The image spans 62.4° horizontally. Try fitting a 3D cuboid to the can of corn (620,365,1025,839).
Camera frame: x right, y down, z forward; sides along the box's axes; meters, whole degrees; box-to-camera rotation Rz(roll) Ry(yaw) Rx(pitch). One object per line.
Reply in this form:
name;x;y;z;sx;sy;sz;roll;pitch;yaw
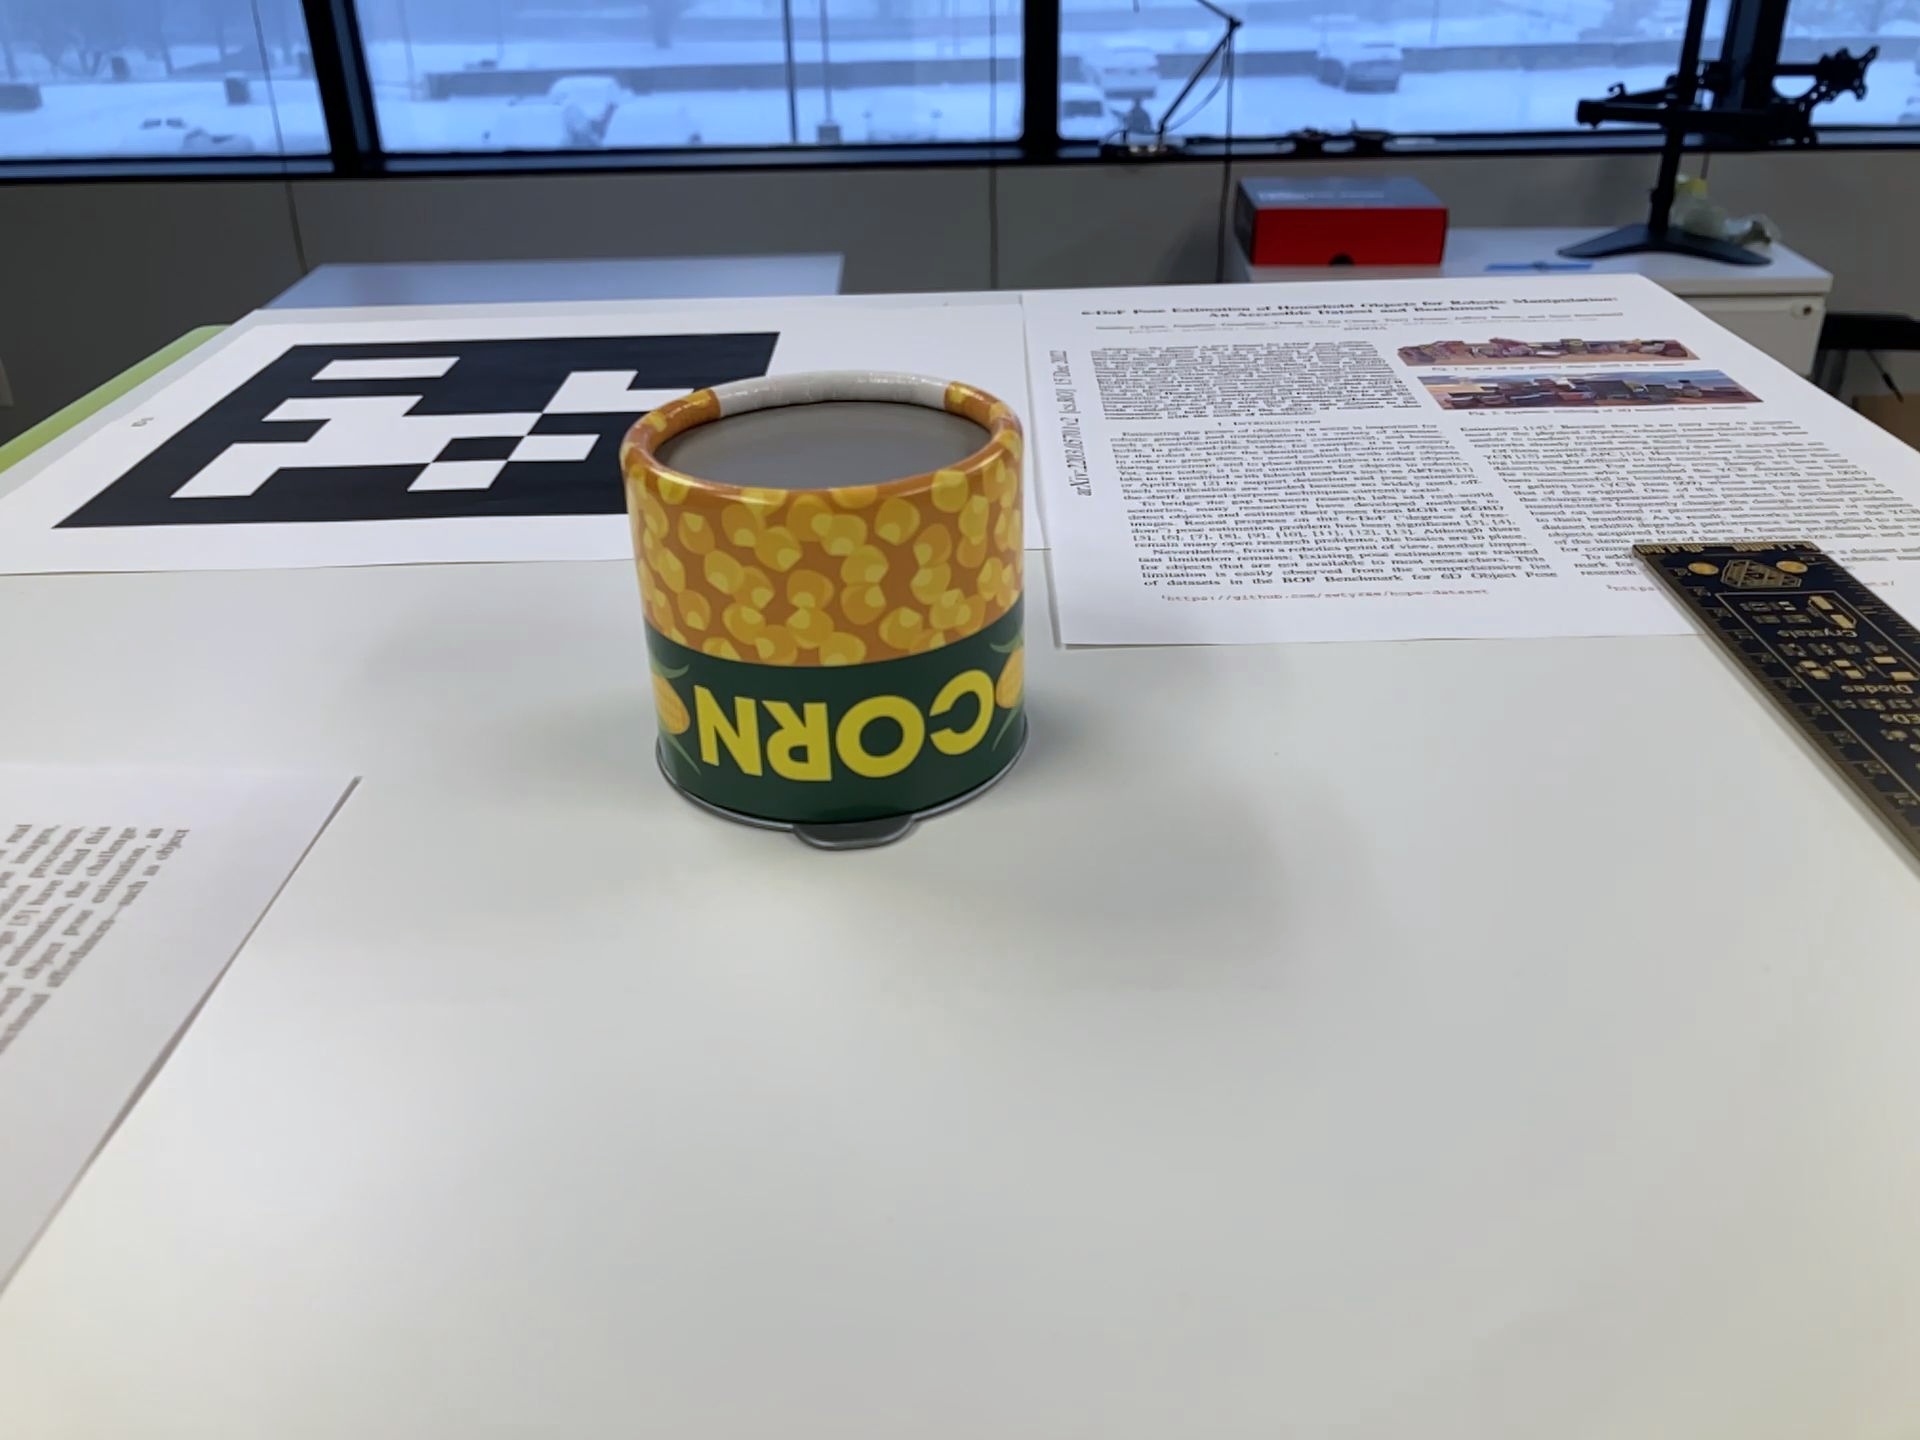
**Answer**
can of corn;-0.022;-0.023;0.269;0.071;0.058;0.071;-1;28;1
